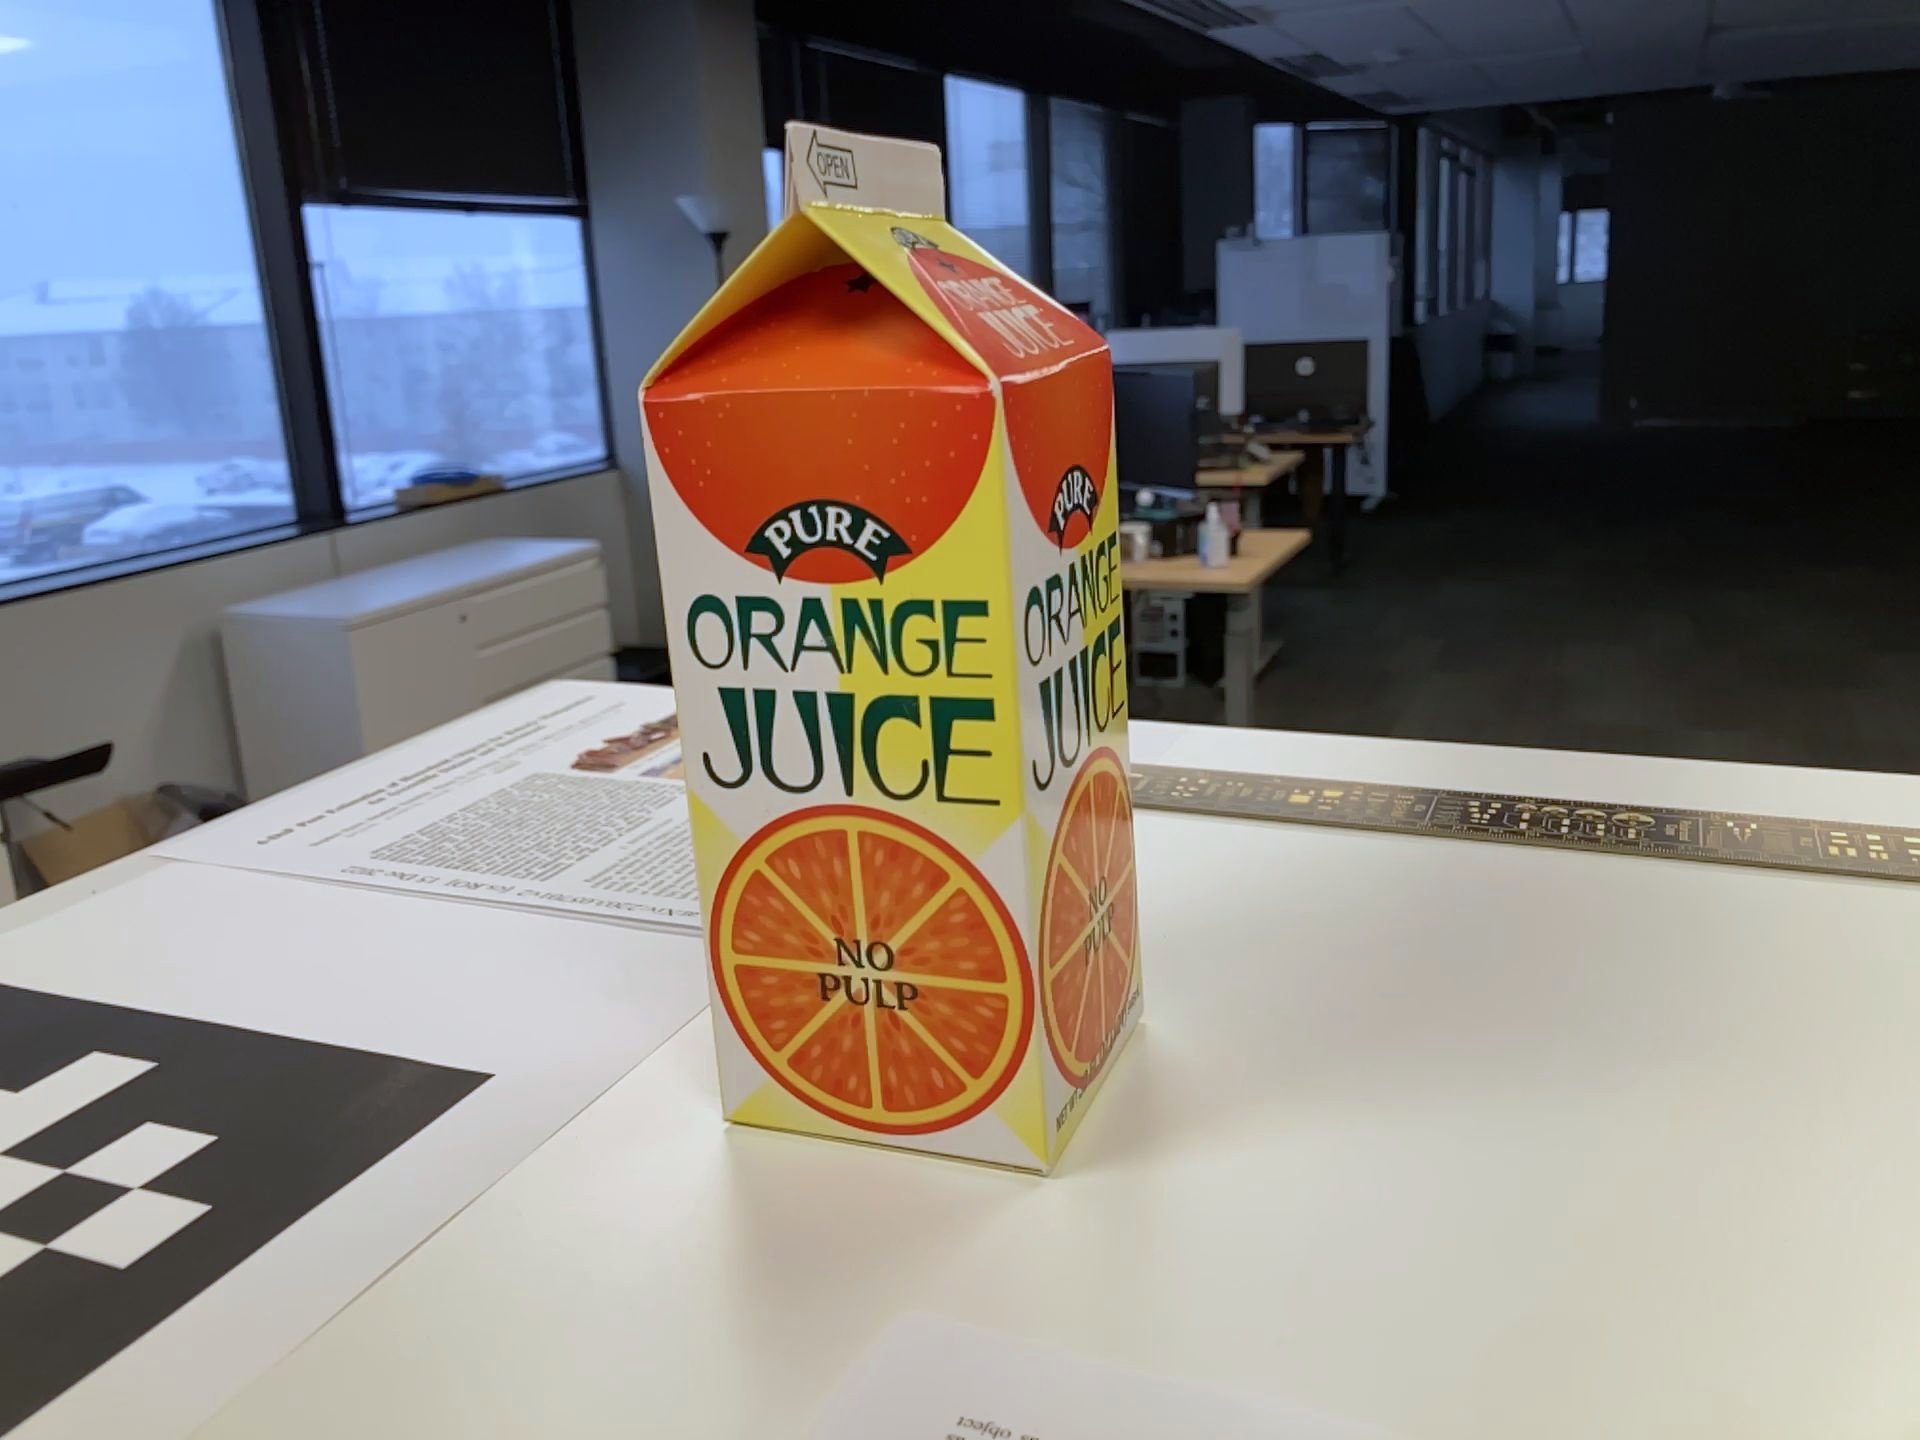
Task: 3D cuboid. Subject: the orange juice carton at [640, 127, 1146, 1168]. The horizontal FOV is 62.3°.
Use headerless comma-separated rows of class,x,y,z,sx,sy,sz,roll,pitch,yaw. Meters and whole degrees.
orange juice carton,-0.010,-0.016,0.323,0.073,0.192,0.072,1,16,22
